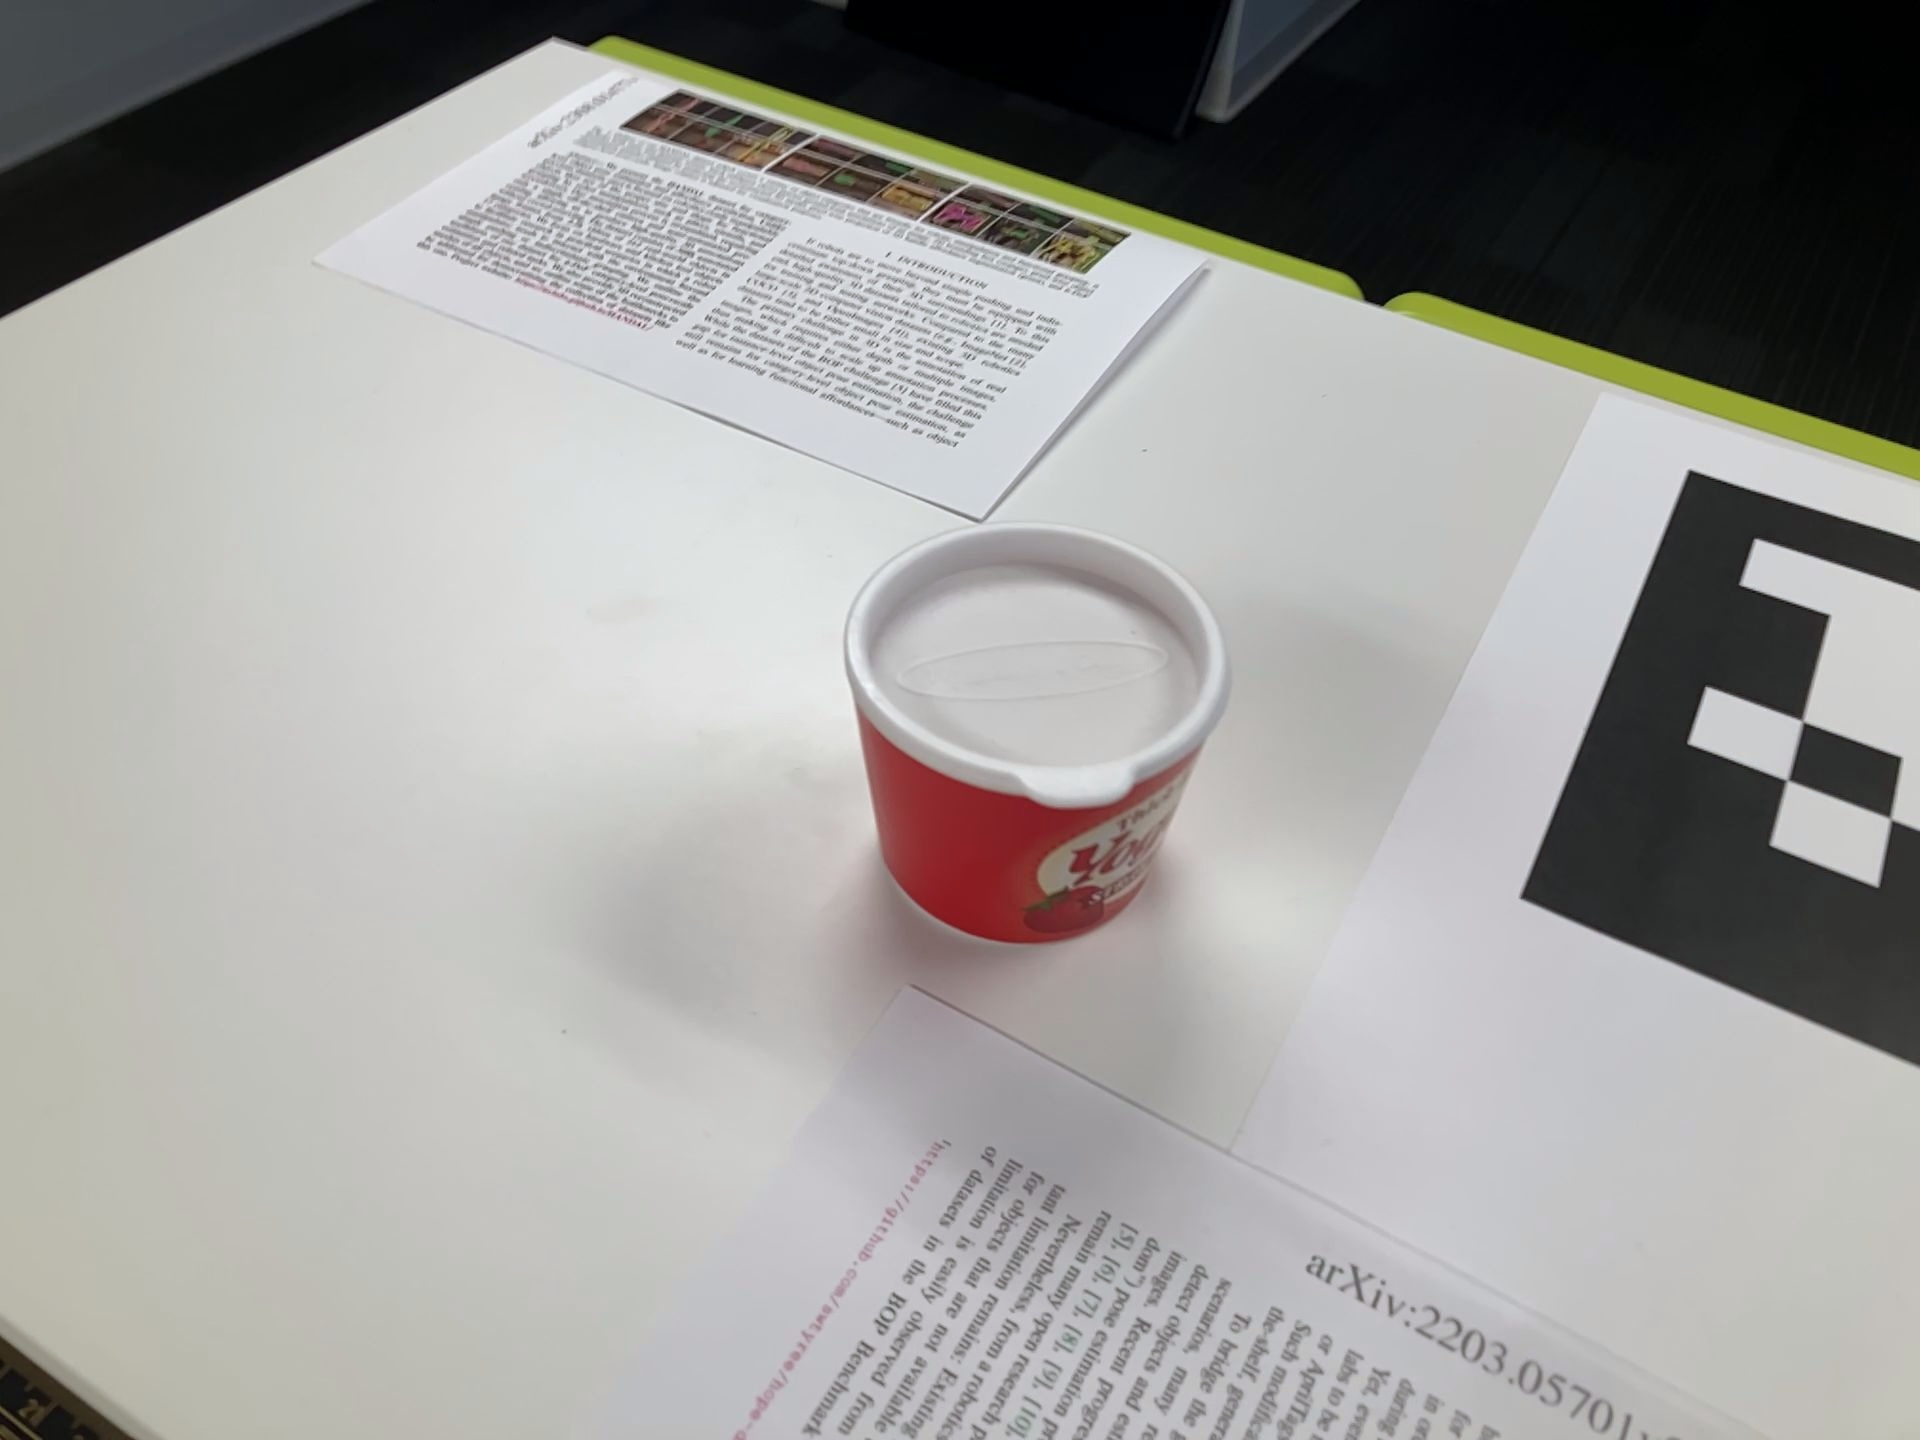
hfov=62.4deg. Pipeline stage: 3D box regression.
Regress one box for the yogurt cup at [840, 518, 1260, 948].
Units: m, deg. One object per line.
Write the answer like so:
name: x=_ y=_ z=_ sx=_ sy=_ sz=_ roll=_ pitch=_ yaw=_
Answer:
yogurt cup: x=0.012 y=0.004 z=0.290 sx=0.072 sy=0.054 sz=0.072 roll=2 pitch=45 yaw=-2
